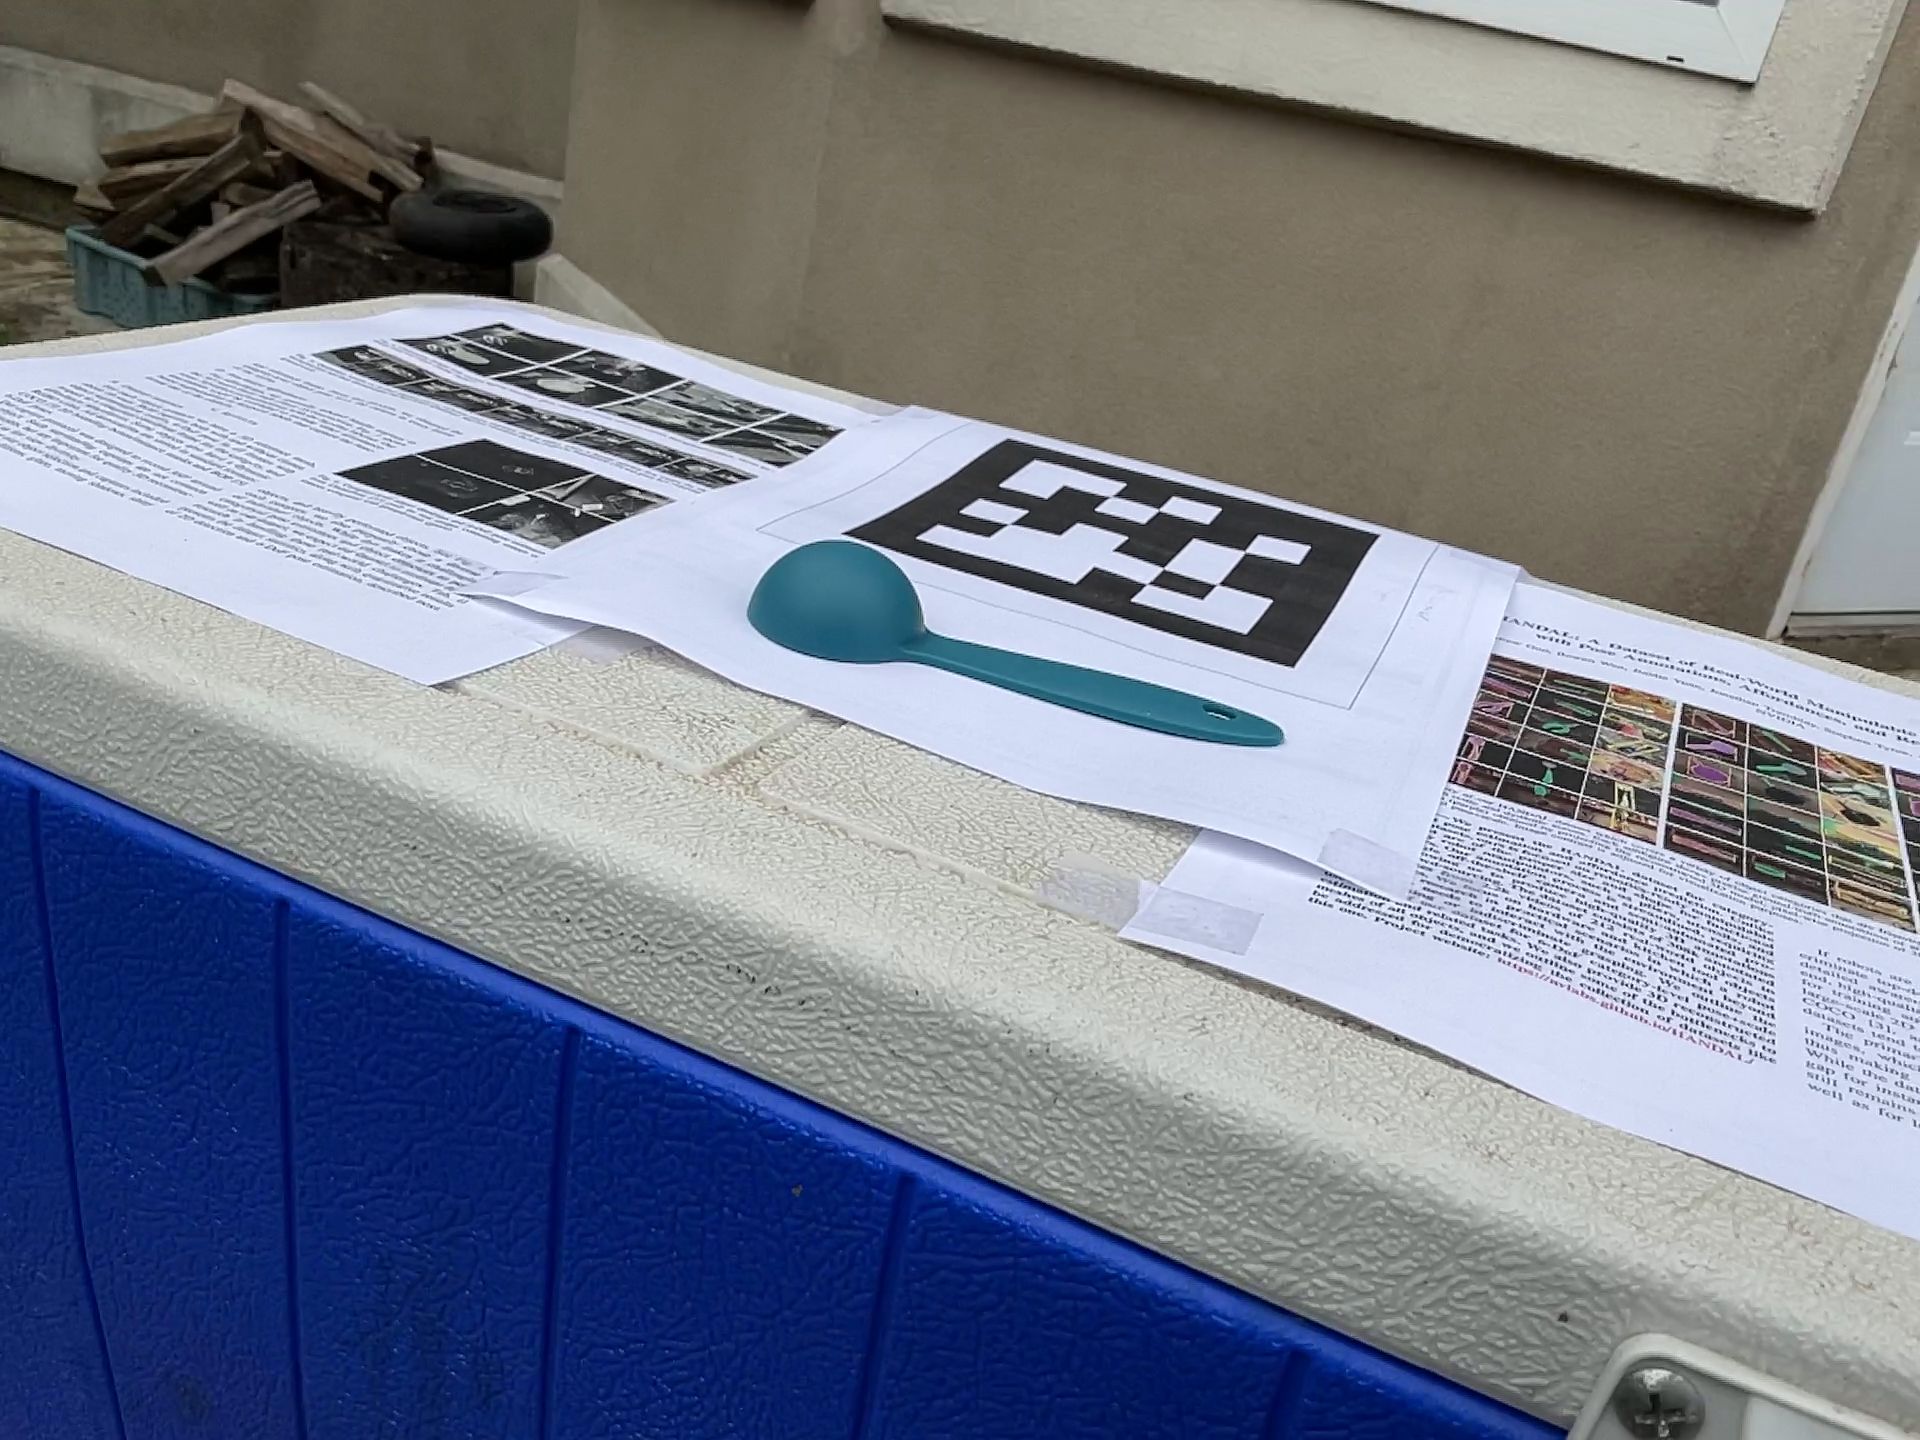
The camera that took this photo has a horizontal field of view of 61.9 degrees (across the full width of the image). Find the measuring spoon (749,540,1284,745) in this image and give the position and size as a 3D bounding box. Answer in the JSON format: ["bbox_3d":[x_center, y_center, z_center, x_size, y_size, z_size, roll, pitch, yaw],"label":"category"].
[{"bbox_3d":[0.013,-0.020,0.371,0.128,0.021,0.042,15,19,10],"label":"measuring spoon"}]
